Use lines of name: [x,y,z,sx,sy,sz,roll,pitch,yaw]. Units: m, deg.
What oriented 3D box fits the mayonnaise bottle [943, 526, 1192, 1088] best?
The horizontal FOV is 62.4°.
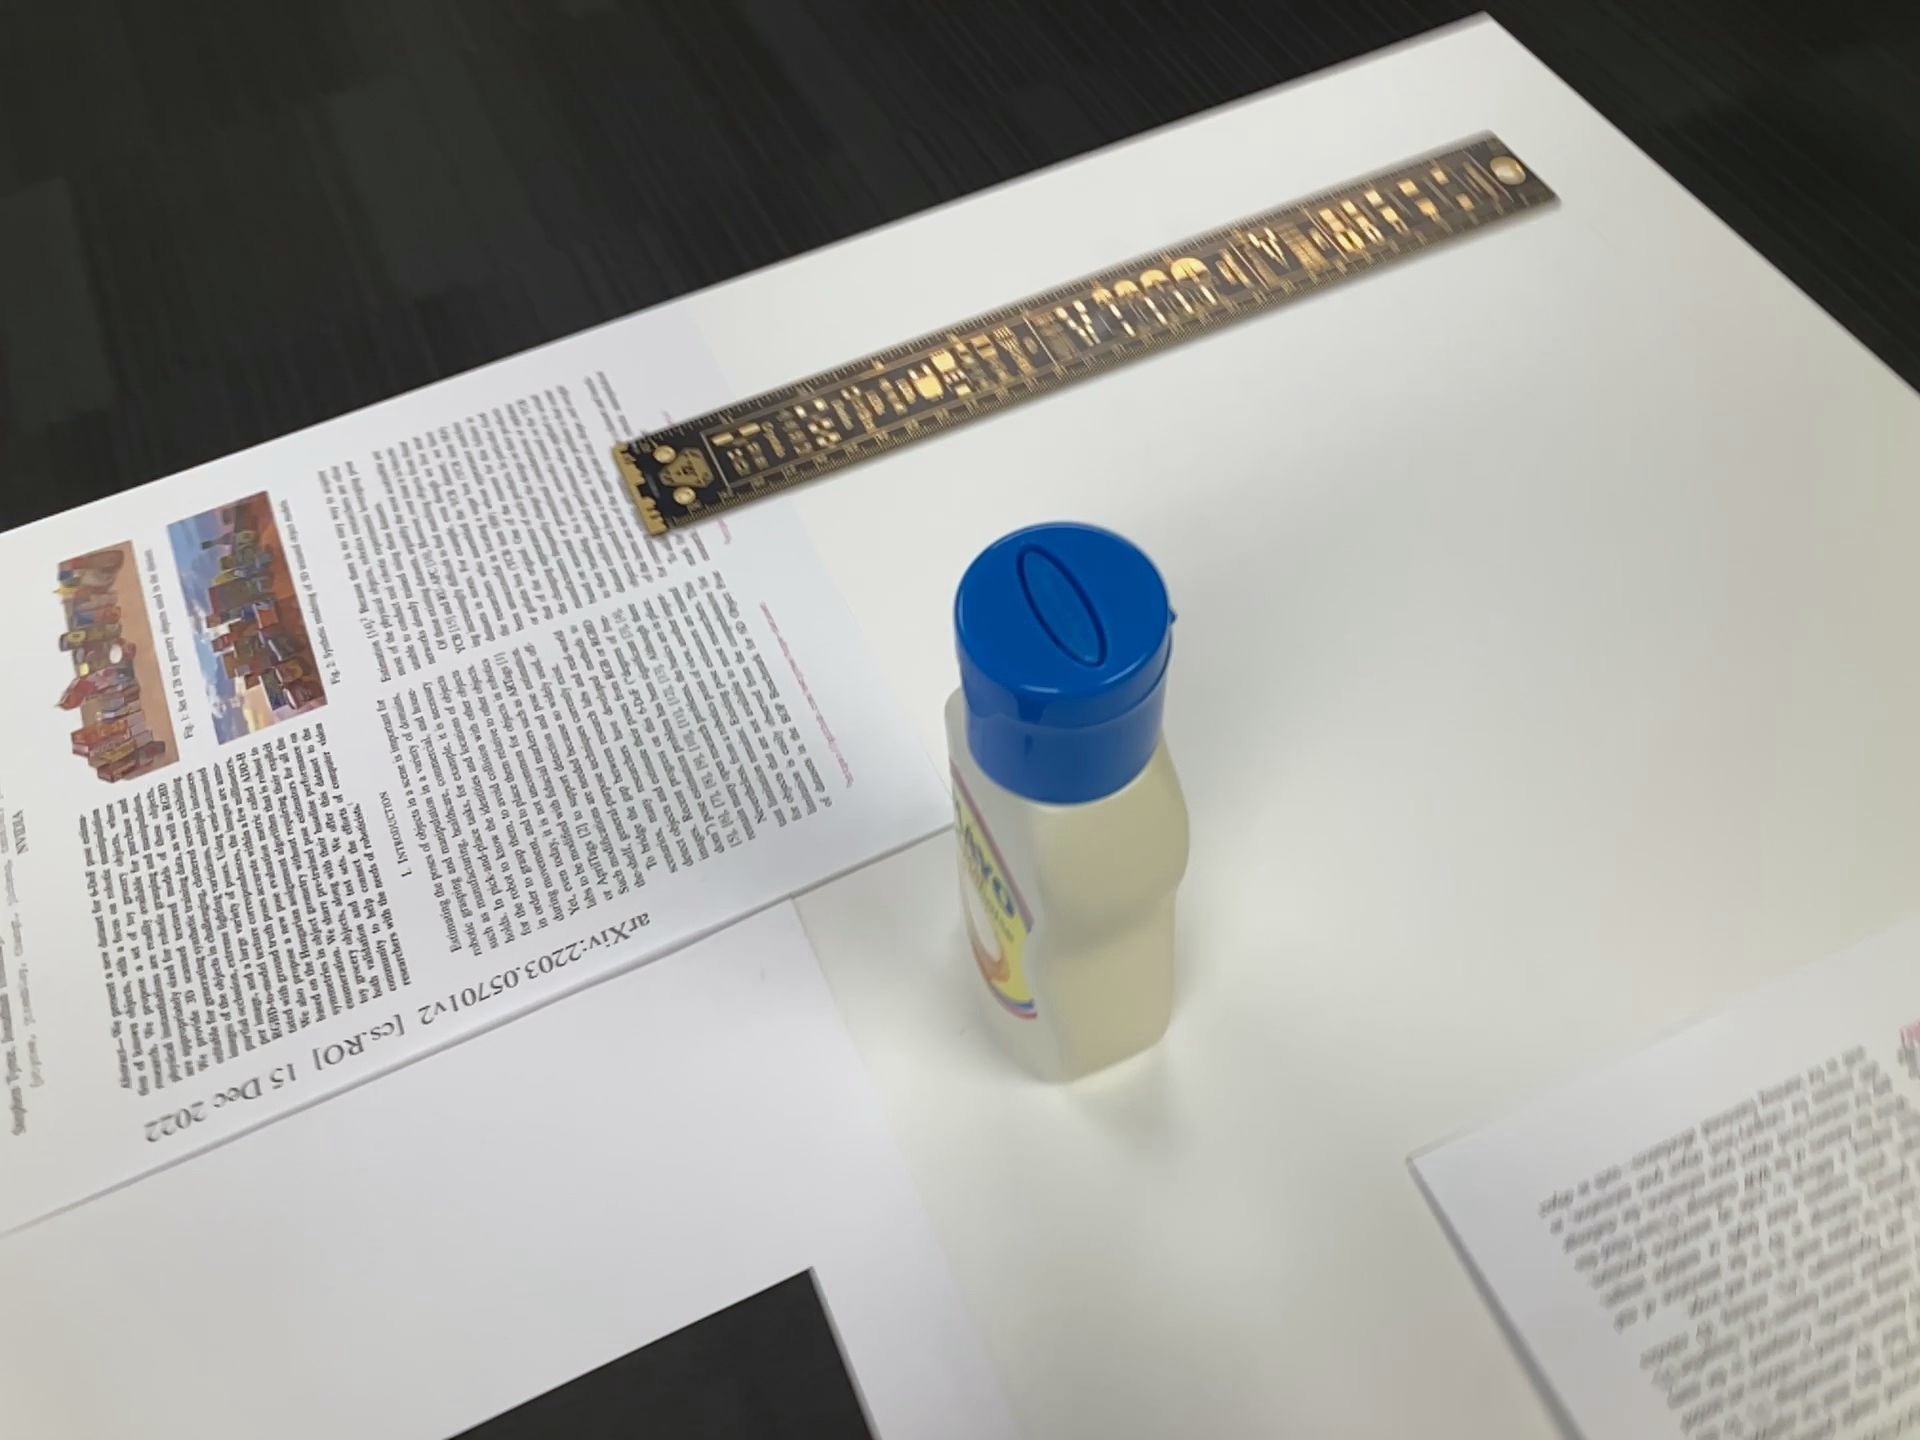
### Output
mayonnaise bottle: [0.020,0.021,0.321,0.041,0.148,0.065,-22,58,-10]
